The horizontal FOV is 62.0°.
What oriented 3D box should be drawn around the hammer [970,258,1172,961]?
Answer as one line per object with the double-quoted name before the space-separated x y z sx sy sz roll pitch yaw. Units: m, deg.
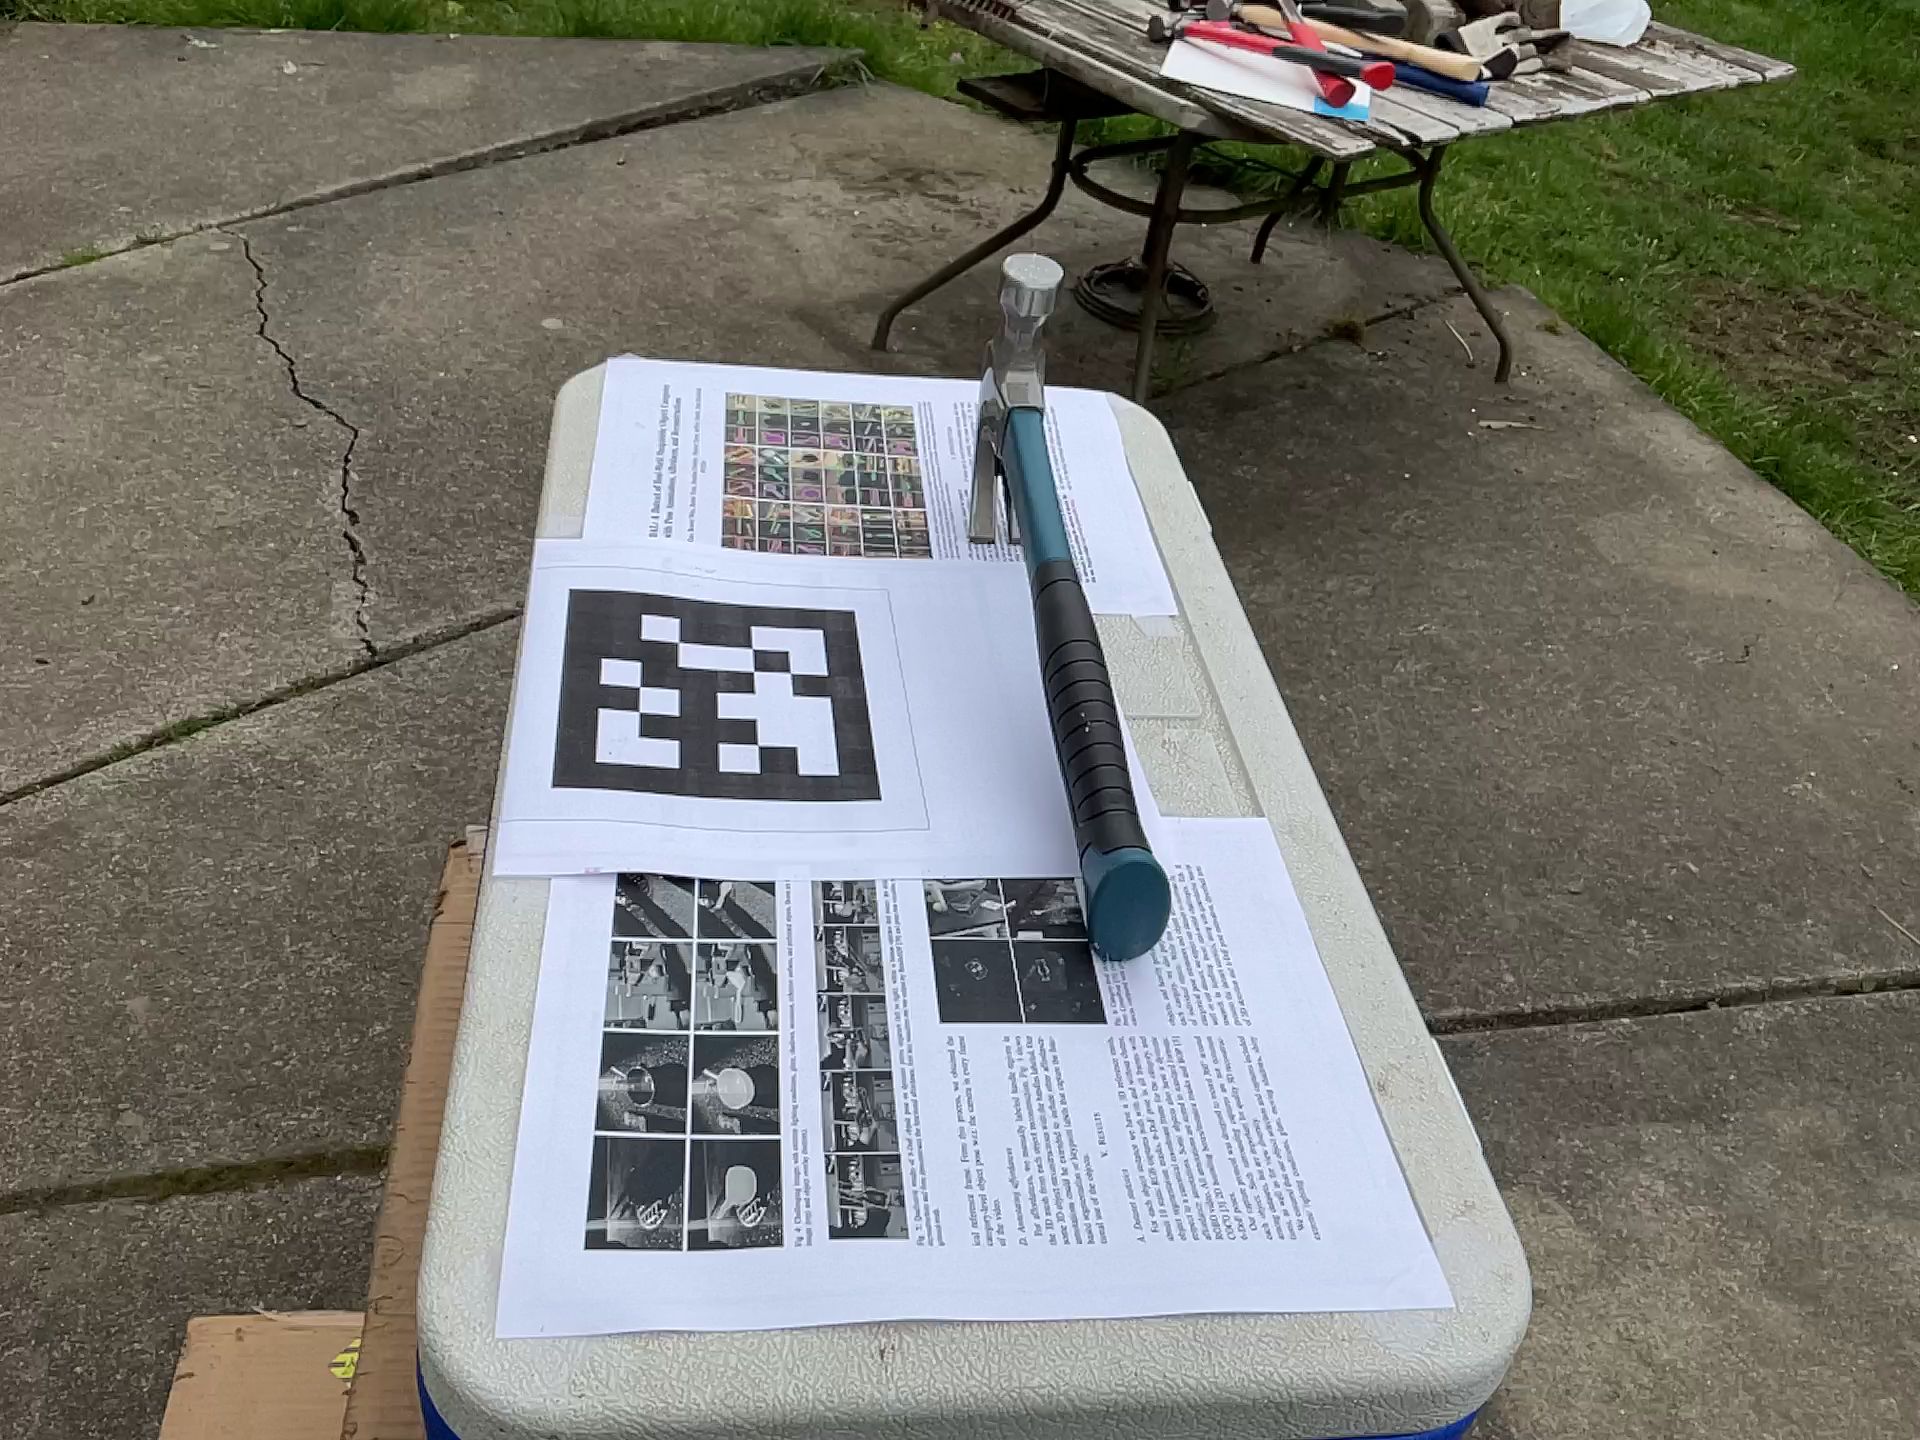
"hammer" 0.042 -0.049 0.677 0.033 0.128 0.331 0 49 -10
